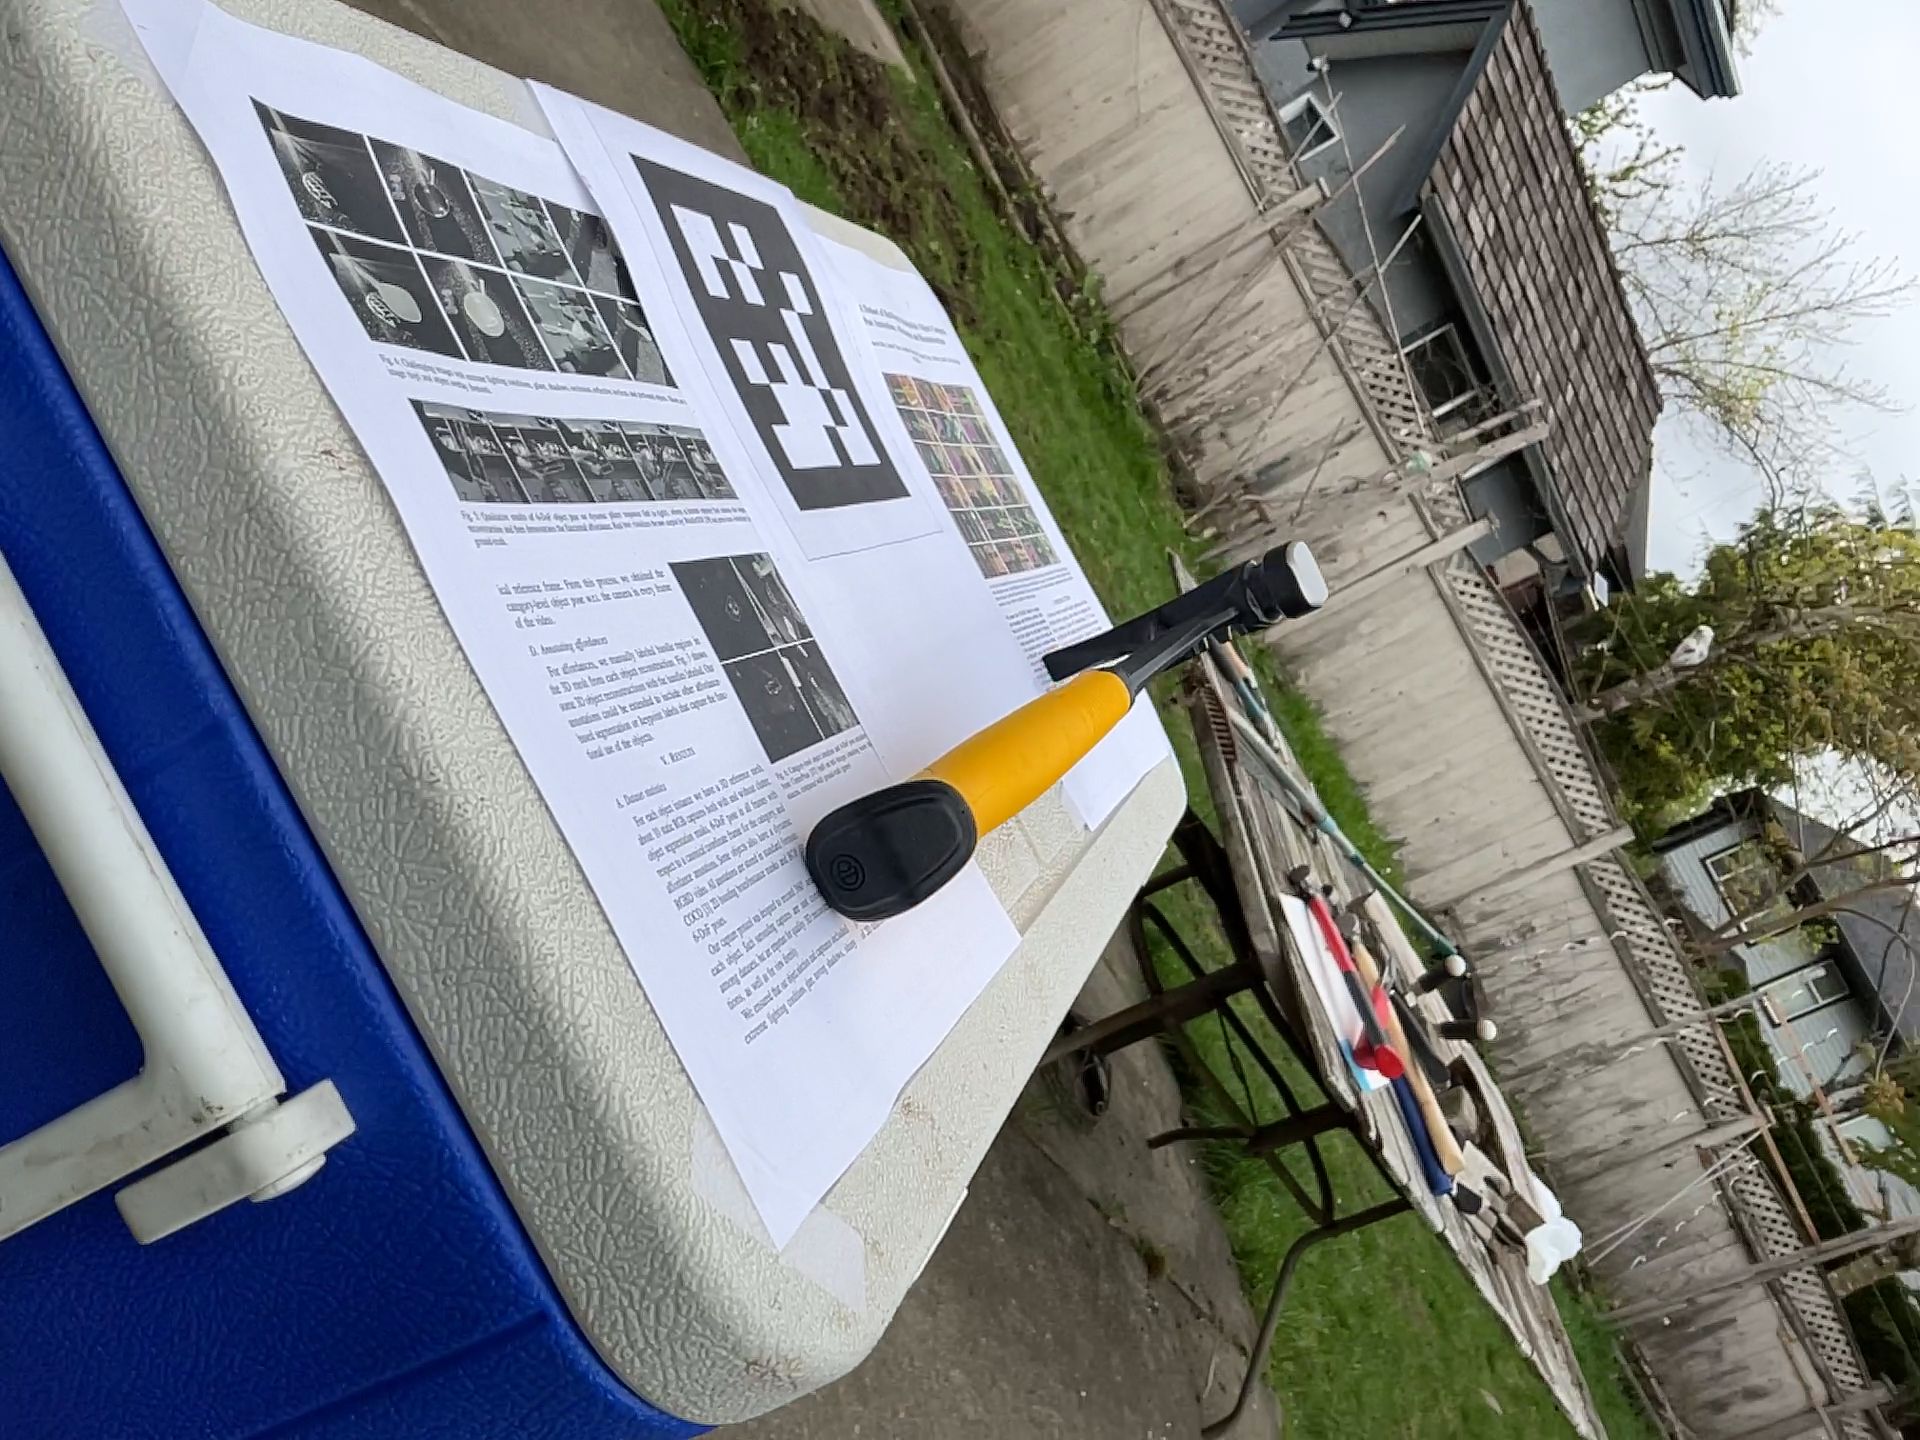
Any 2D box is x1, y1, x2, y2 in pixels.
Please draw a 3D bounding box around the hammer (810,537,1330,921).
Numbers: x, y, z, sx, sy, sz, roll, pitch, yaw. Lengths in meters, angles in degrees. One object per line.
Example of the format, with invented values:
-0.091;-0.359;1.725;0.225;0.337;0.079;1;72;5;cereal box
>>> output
0.036;-0.001;0.550;0.034;0.127;0.337;62;27;-2;hammer
